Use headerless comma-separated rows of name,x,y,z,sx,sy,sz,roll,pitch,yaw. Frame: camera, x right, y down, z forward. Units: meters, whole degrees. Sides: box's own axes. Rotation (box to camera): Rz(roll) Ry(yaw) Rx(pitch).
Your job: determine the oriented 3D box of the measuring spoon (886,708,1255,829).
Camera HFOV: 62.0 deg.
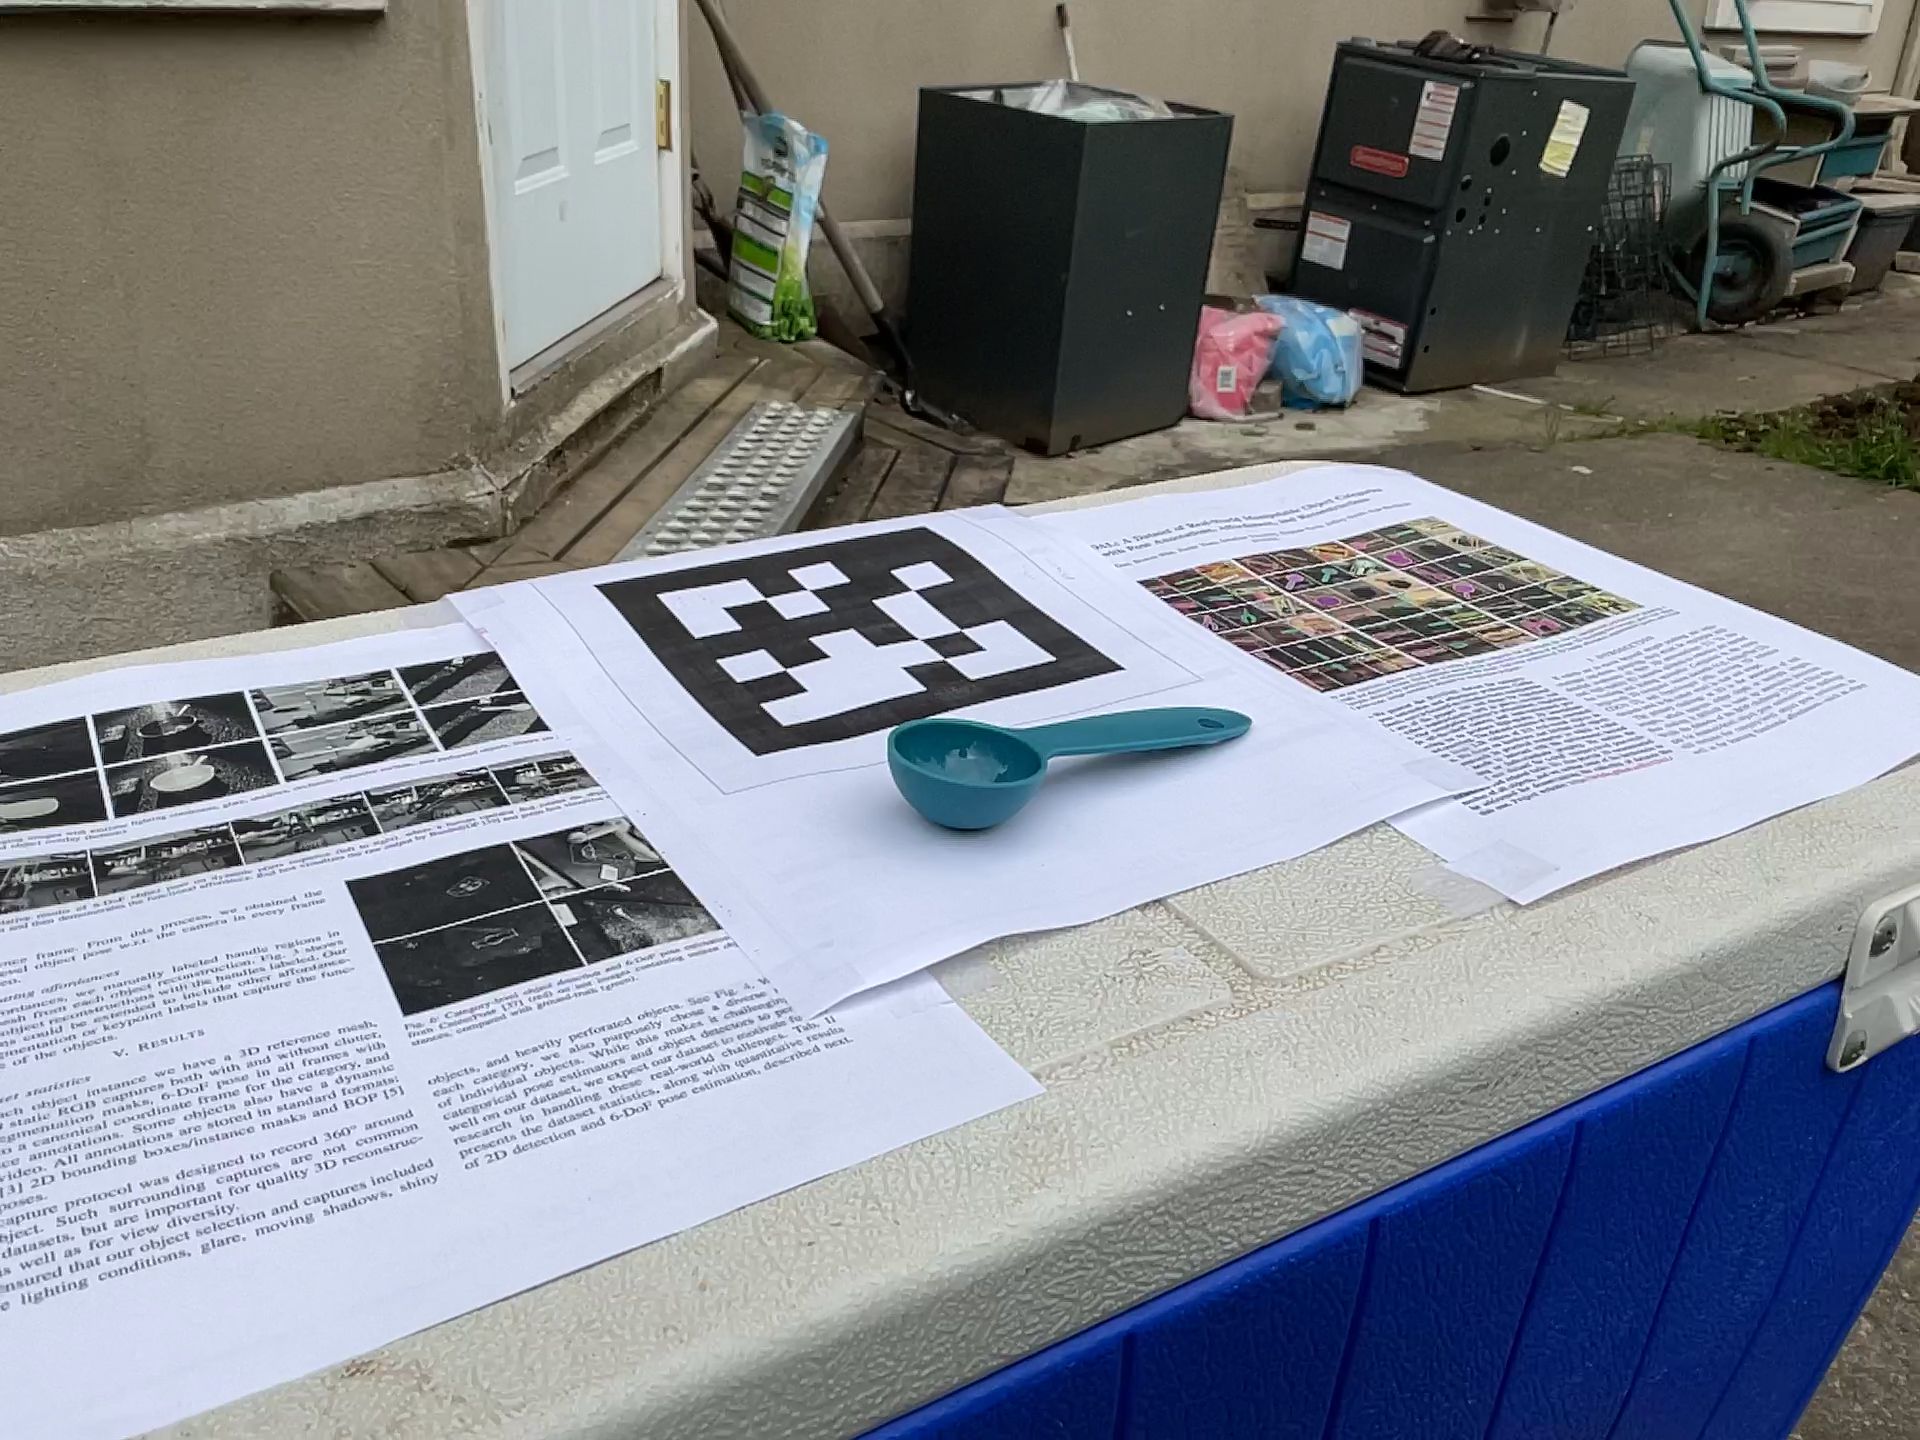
measuring spoon,0.035,0.013,0.445,0.128,0.021,0.042,-6,26,-37
